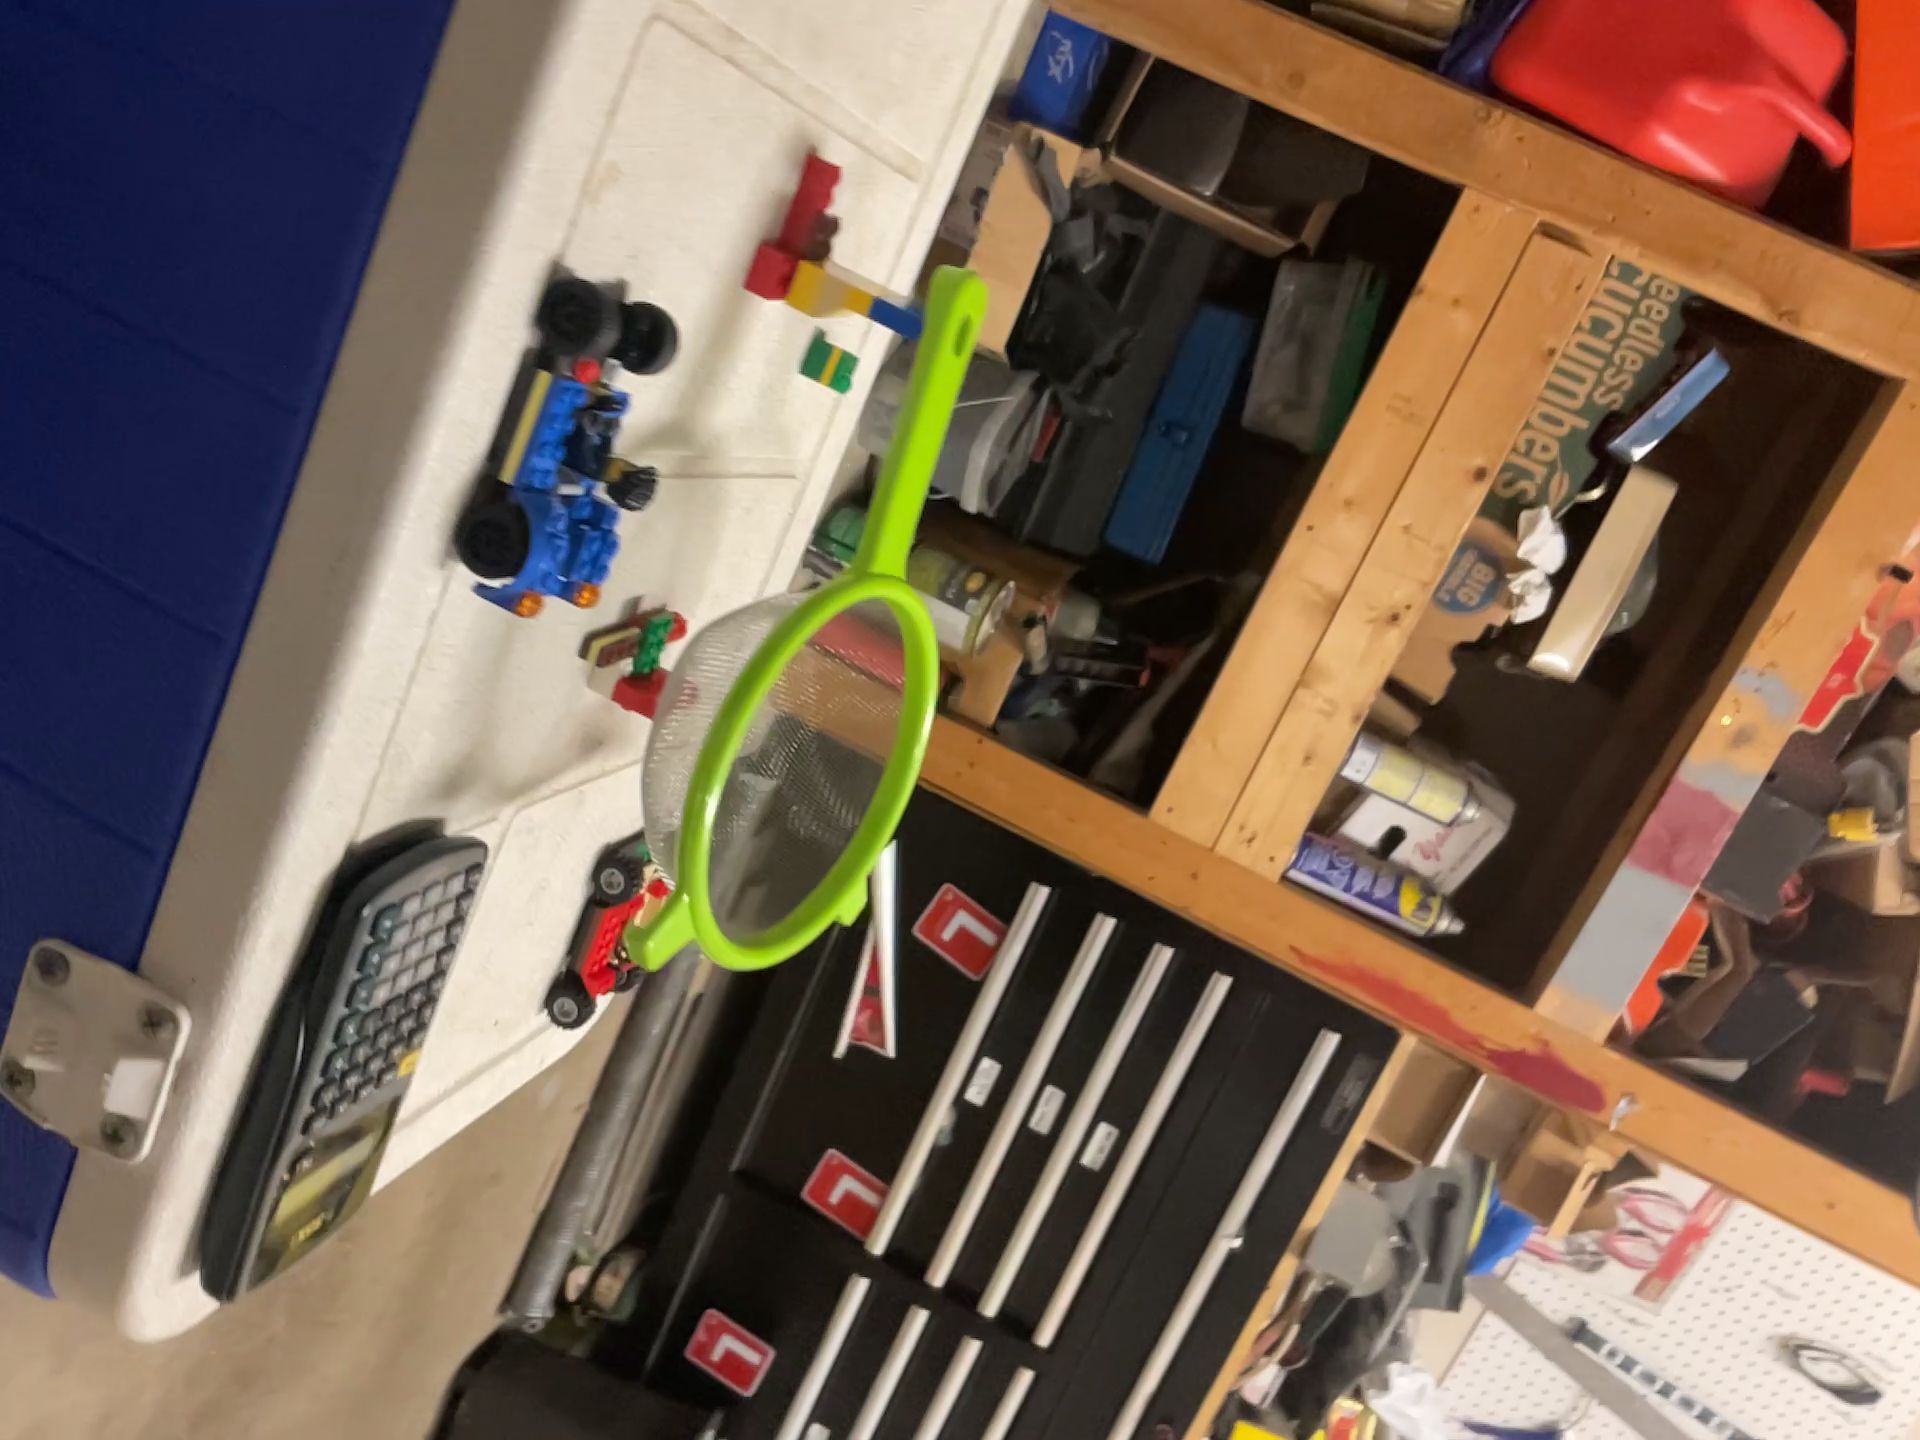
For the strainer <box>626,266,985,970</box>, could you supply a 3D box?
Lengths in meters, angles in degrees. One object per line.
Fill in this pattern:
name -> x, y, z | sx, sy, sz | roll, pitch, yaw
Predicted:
strainer -> -0.058, -0.041, 0.573 | 0.151, 0.069, 0.256 | 2, 107, -66
